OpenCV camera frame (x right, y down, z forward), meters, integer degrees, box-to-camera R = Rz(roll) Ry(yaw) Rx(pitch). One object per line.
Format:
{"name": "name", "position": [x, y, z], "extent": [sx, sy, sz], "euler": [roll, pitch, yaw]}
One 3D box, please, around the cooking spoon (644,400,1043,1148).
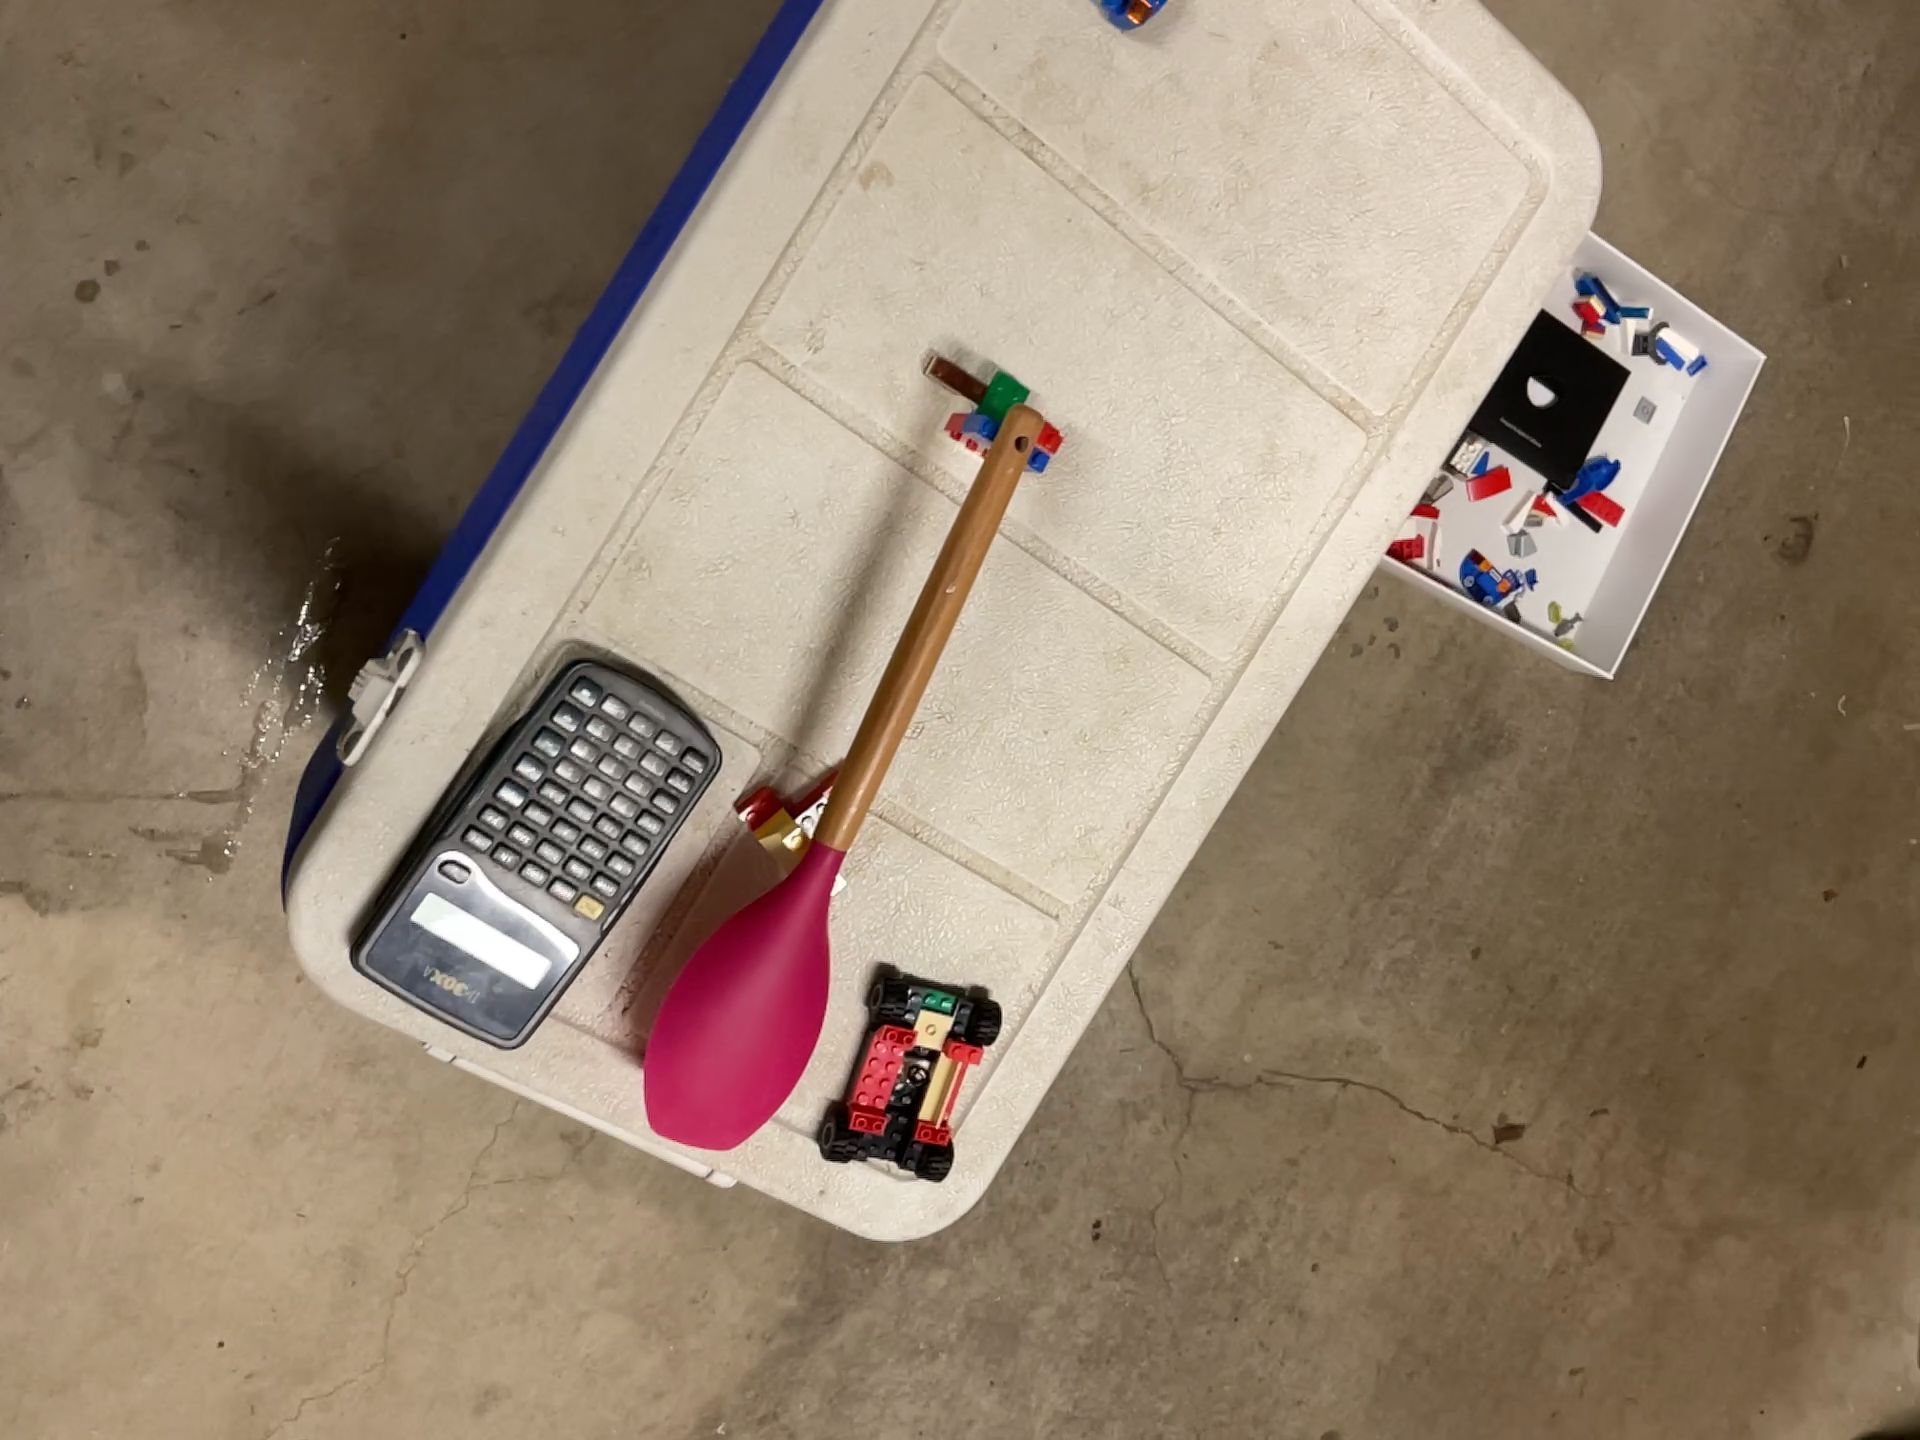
{"name": "cooking spoon", "position": [-0.040, 0.024, 0.621], "extent": [0.069, 0.017, 0.319], "euler": [22, 95, -27]}
